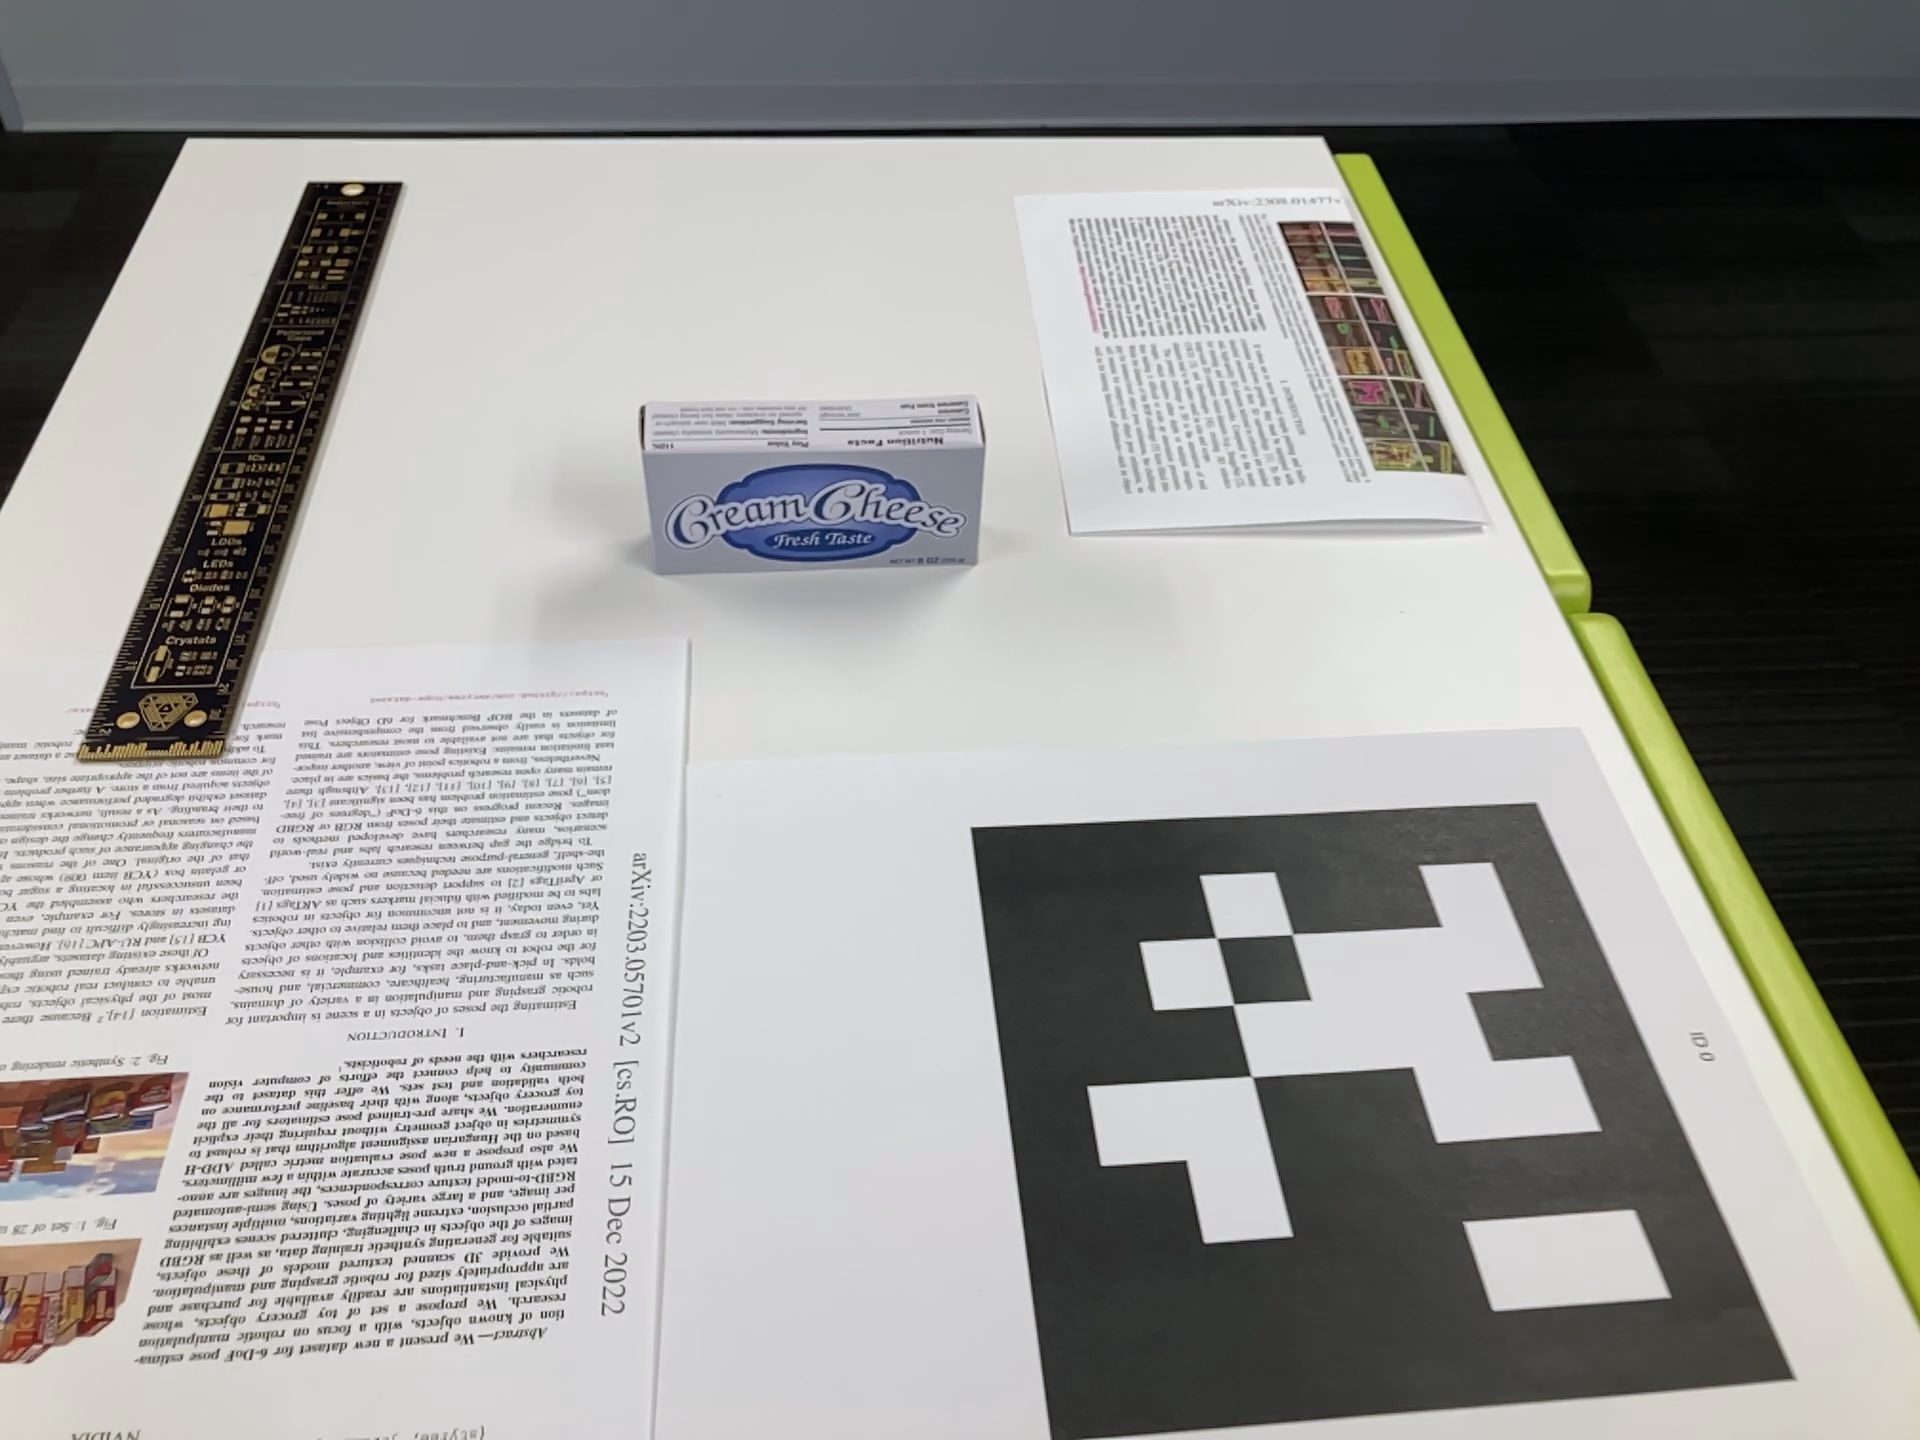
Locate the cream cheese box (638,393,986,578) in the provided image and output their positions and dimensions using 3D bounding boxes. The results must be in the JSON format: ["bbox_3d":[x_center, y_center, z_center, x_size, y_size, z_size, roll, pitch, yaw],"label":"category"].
[{"bbox_3d":[-0.045,-0.072,0.492,0.104,0.053,0.024,-3,49,-6],"label":"cream cheese box"}]
